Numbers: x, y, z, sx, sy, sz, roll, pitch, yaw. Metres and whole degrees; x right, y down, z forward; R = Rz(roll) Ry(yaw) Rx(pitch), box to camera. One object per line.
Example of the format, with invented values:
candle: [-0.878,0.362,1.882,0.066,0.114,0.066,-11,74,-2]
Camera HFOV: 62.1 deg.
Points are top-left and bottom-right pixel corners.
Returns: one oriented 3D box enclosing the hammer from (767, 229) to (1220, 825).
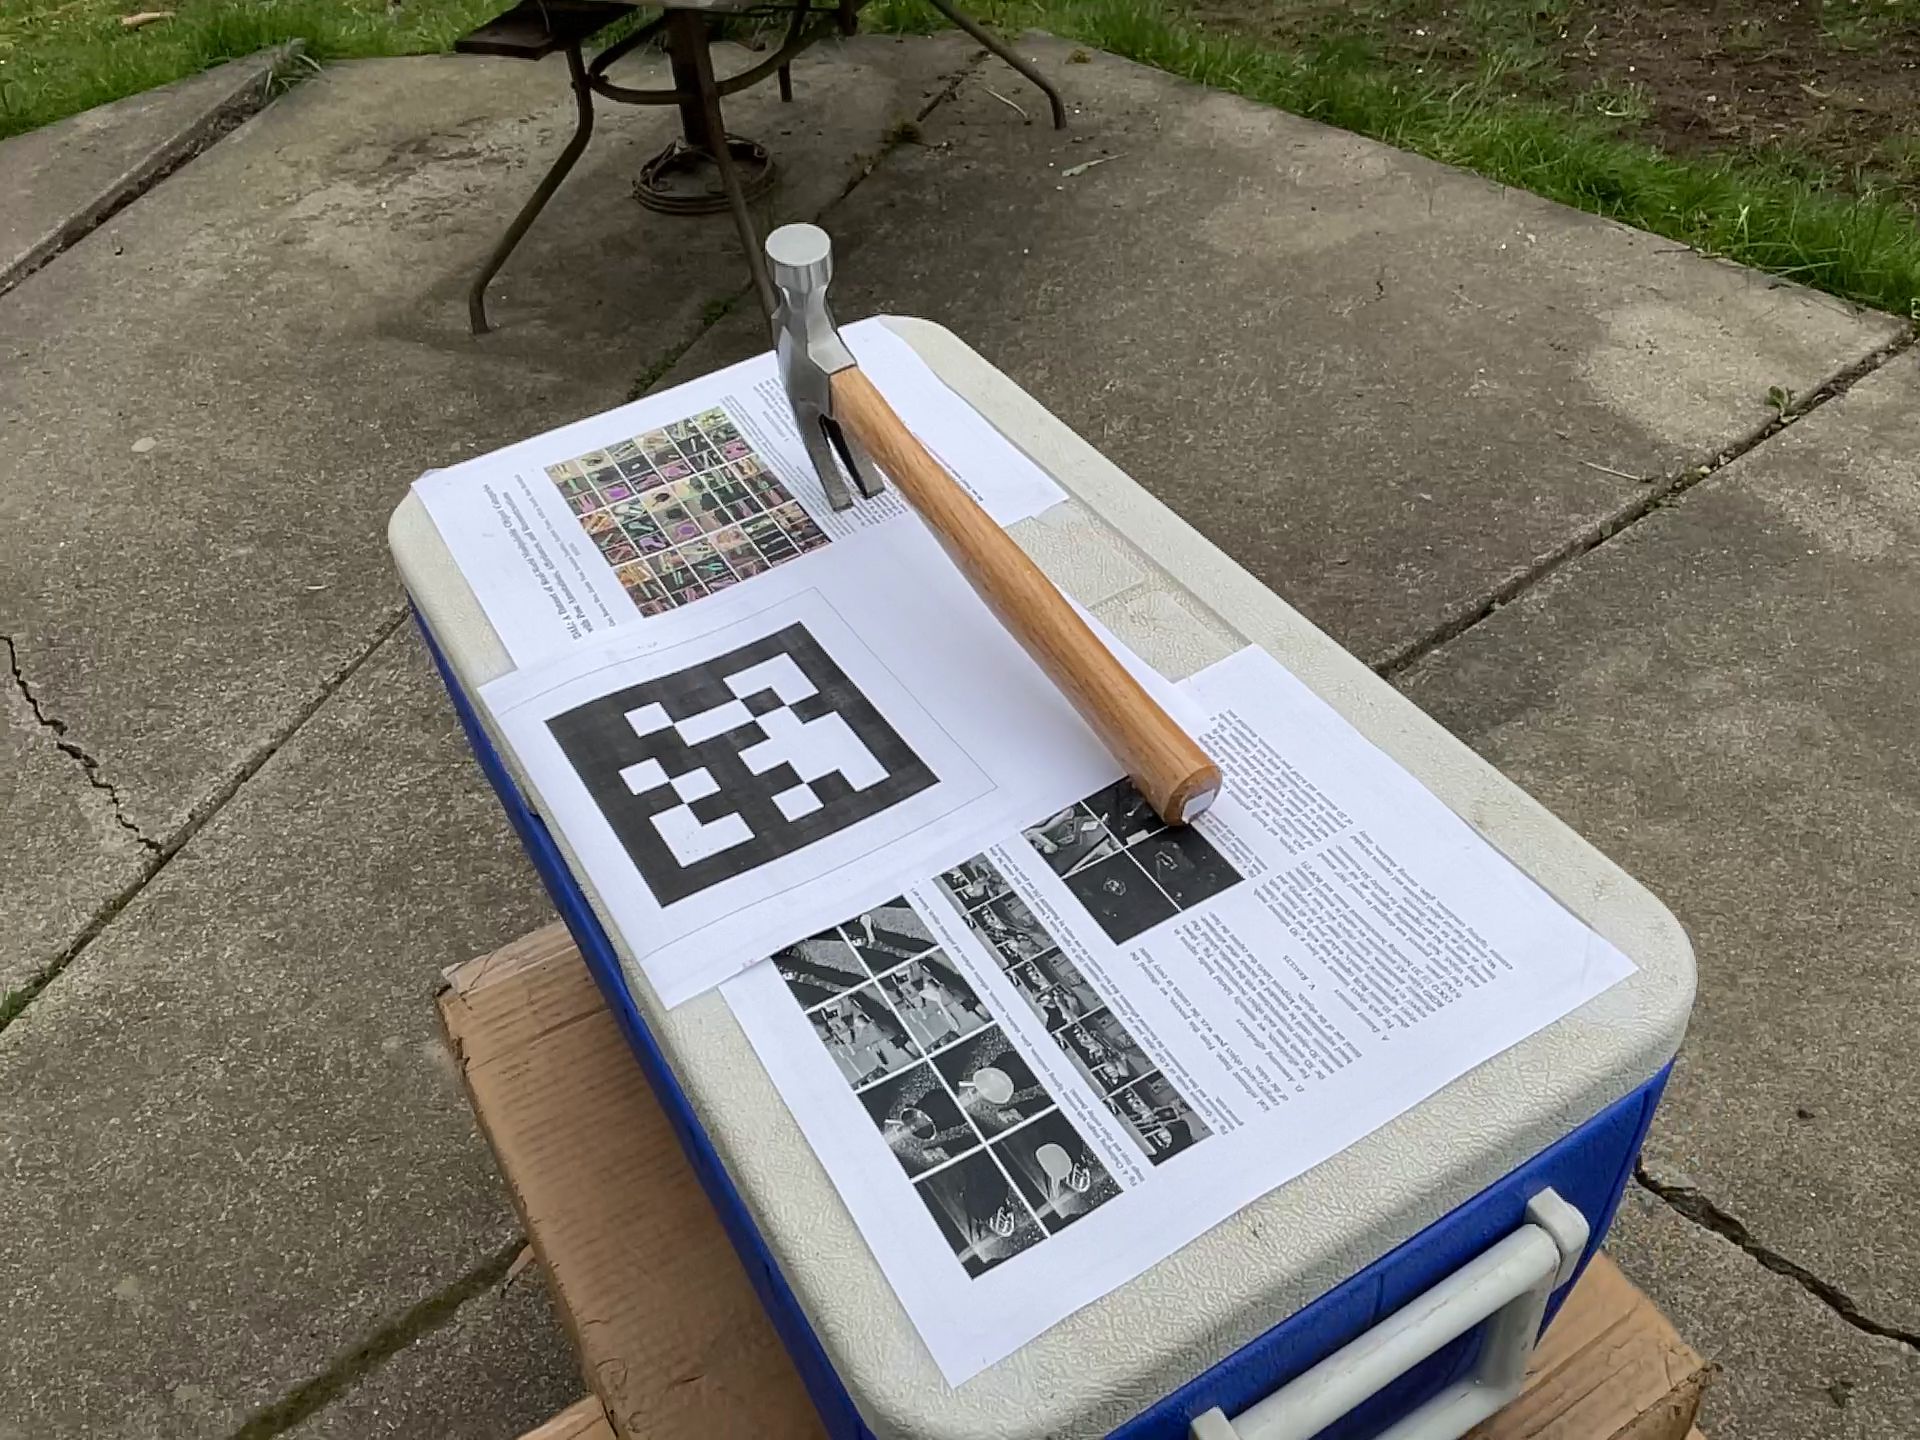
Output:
hammer: [0.005,-0.079,0.715,0.031,0.130,0.332,-27,58,-18]
